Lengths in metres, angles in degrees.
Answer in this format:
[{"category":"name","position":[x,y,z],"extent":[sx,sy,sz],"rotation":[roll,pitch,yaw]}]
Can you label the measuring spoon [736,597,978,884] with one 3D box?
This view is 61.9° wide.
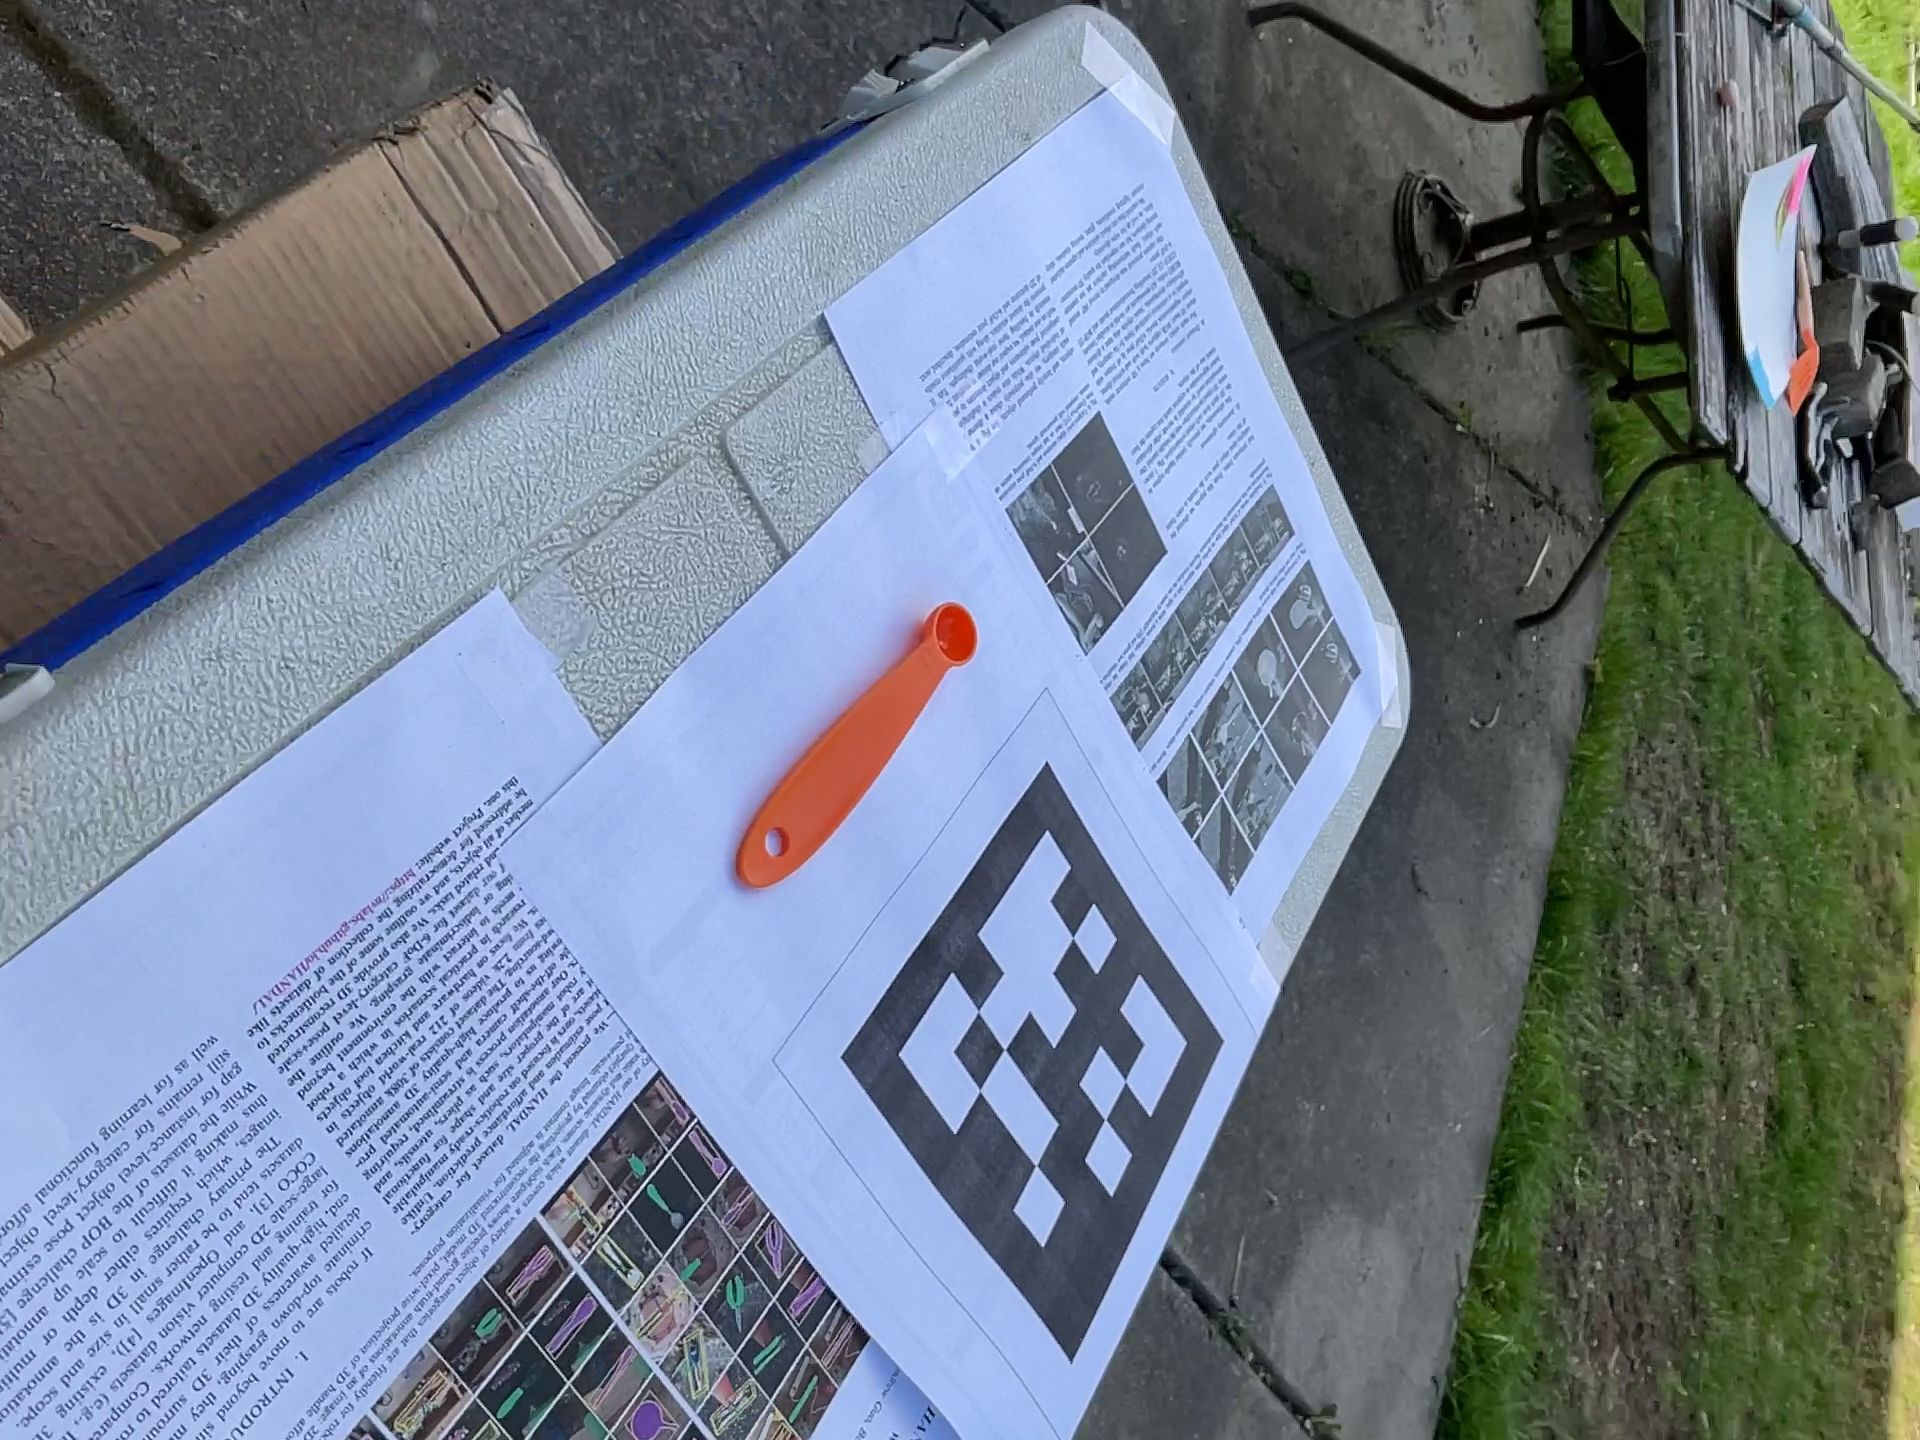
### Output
[{"category":"measuring spoon","position":[-0.029,0.004,0.448],"extent":[0.117,0.011,0.021],"rotation":[-51,120,-37]}]
